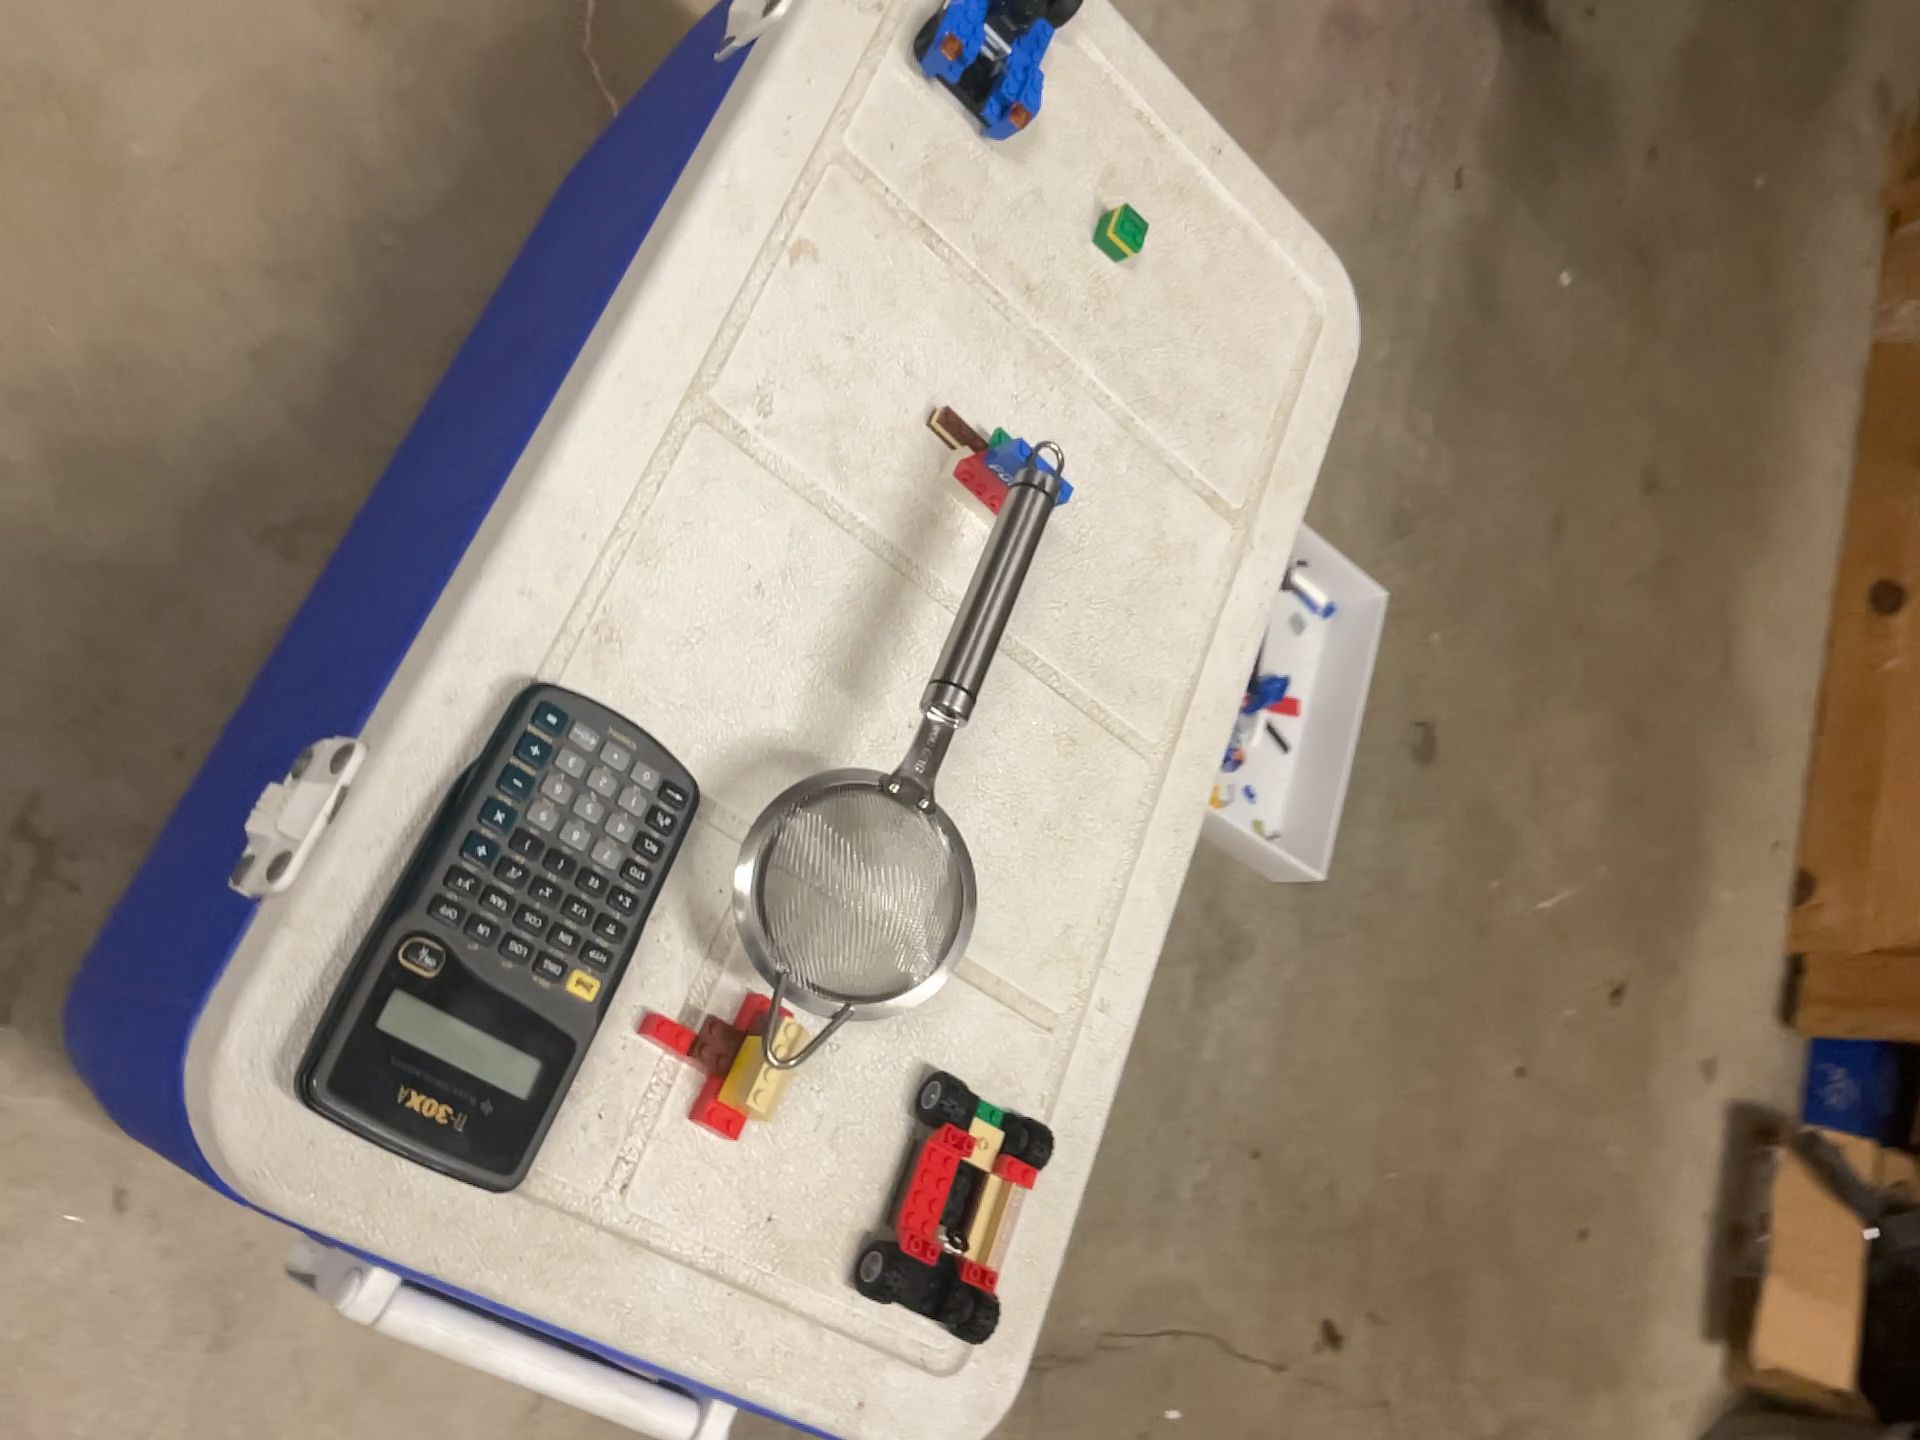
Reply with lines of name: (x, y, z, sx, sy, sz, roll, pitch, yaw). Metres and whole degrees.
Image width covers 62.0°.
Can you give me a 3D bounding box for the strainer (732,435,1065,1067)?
strainer: (-0.008, -0.002, 0.562, 0.087, 0.050, 0.259, 29, 64, -15)
